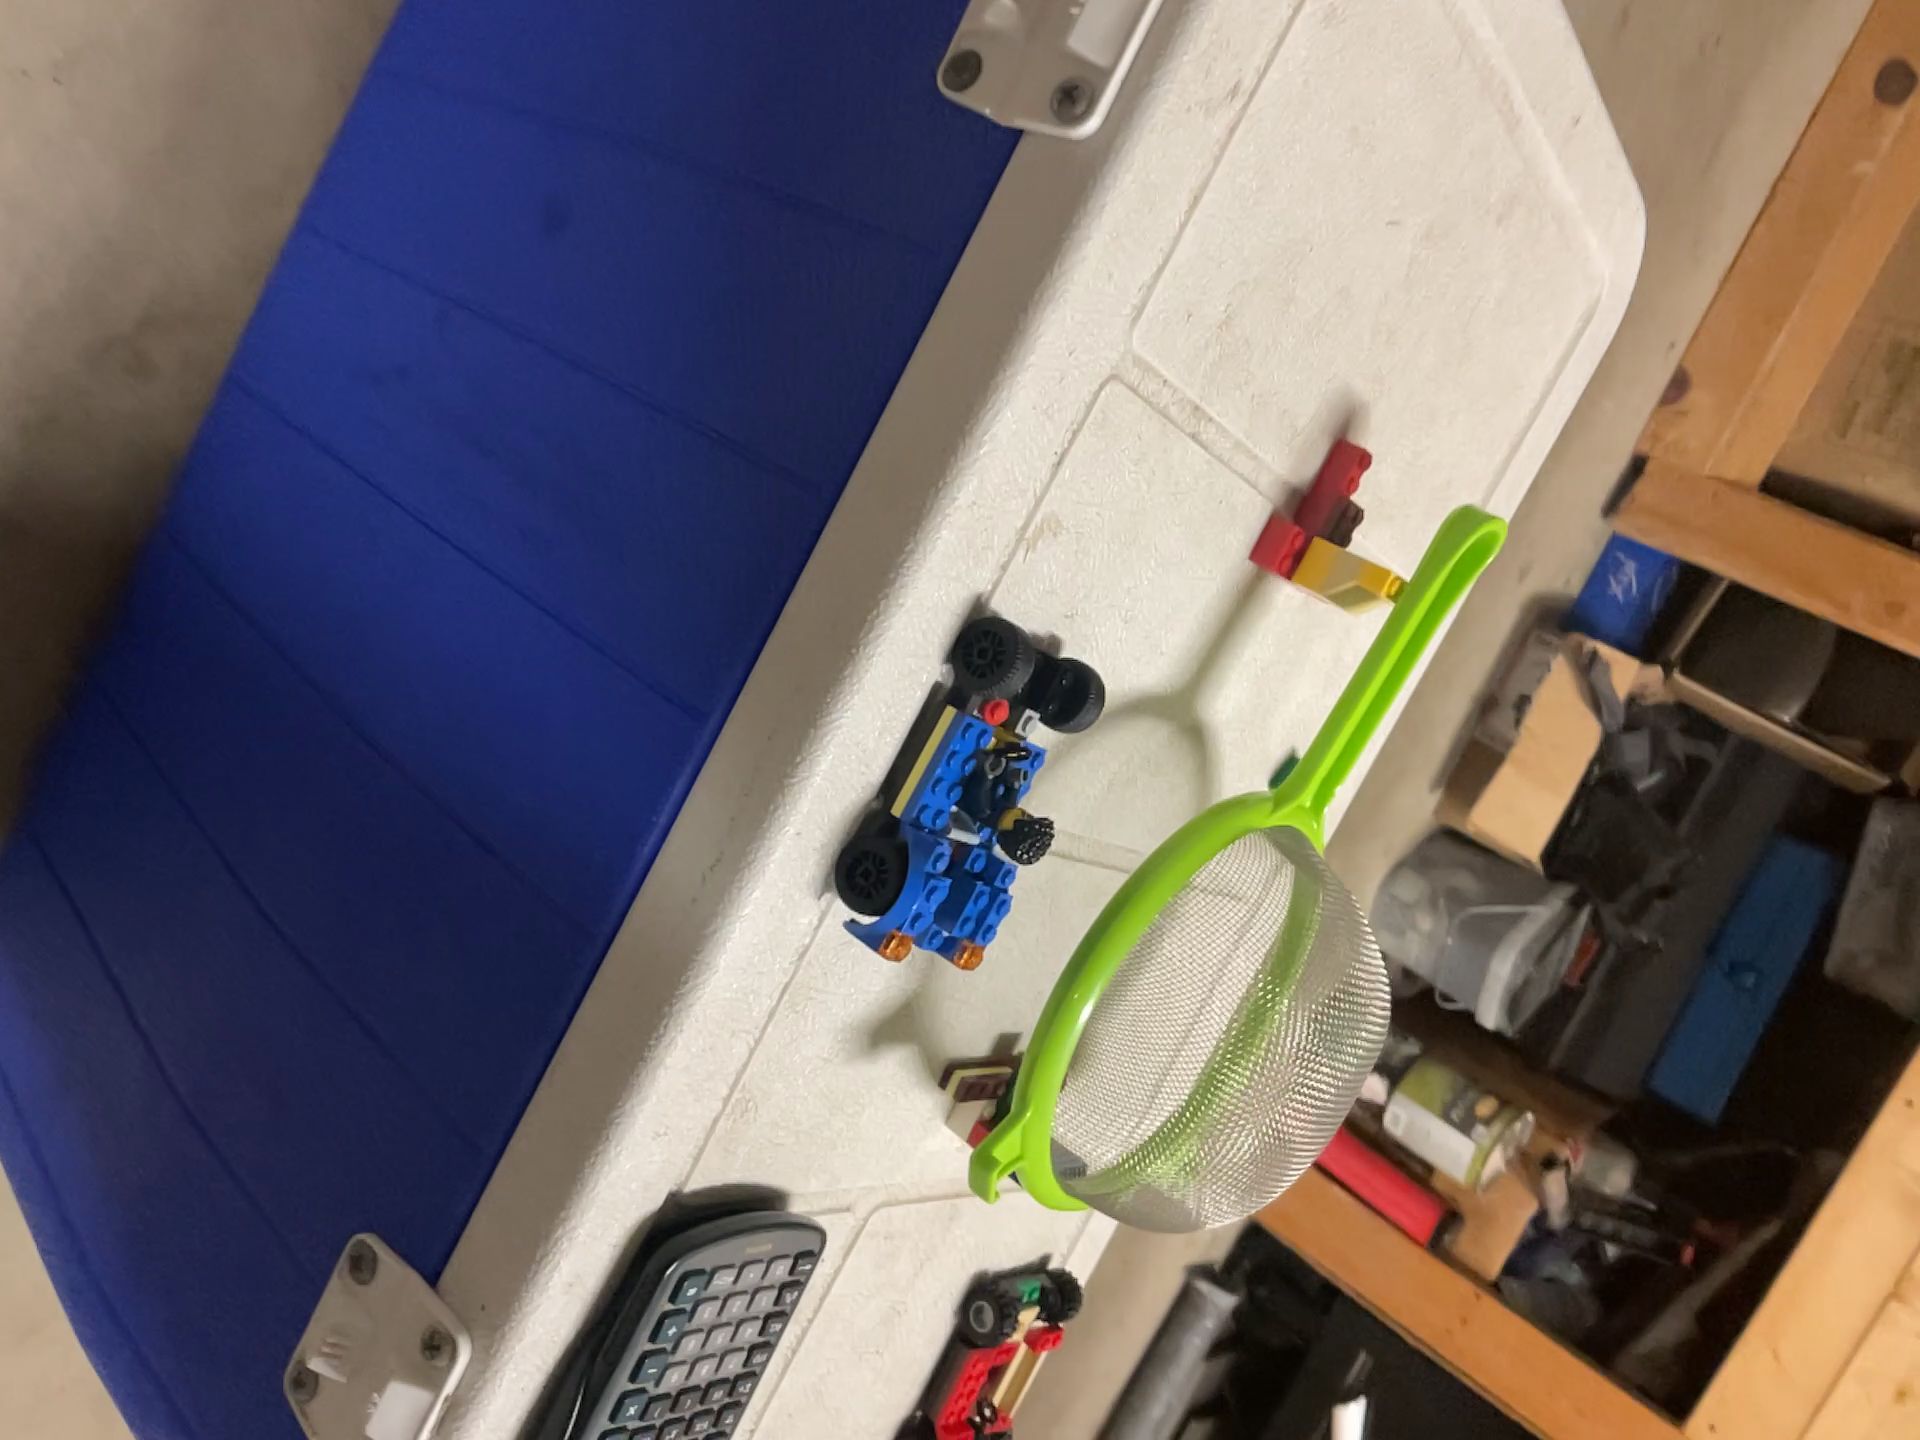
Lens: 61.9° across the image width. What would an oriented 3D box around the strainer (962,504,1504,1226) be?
[{"bbox_3d":[0.114,0.056,0.493,0.151,0.069,0.256,25,97,-55],"label":"strainer"}]
